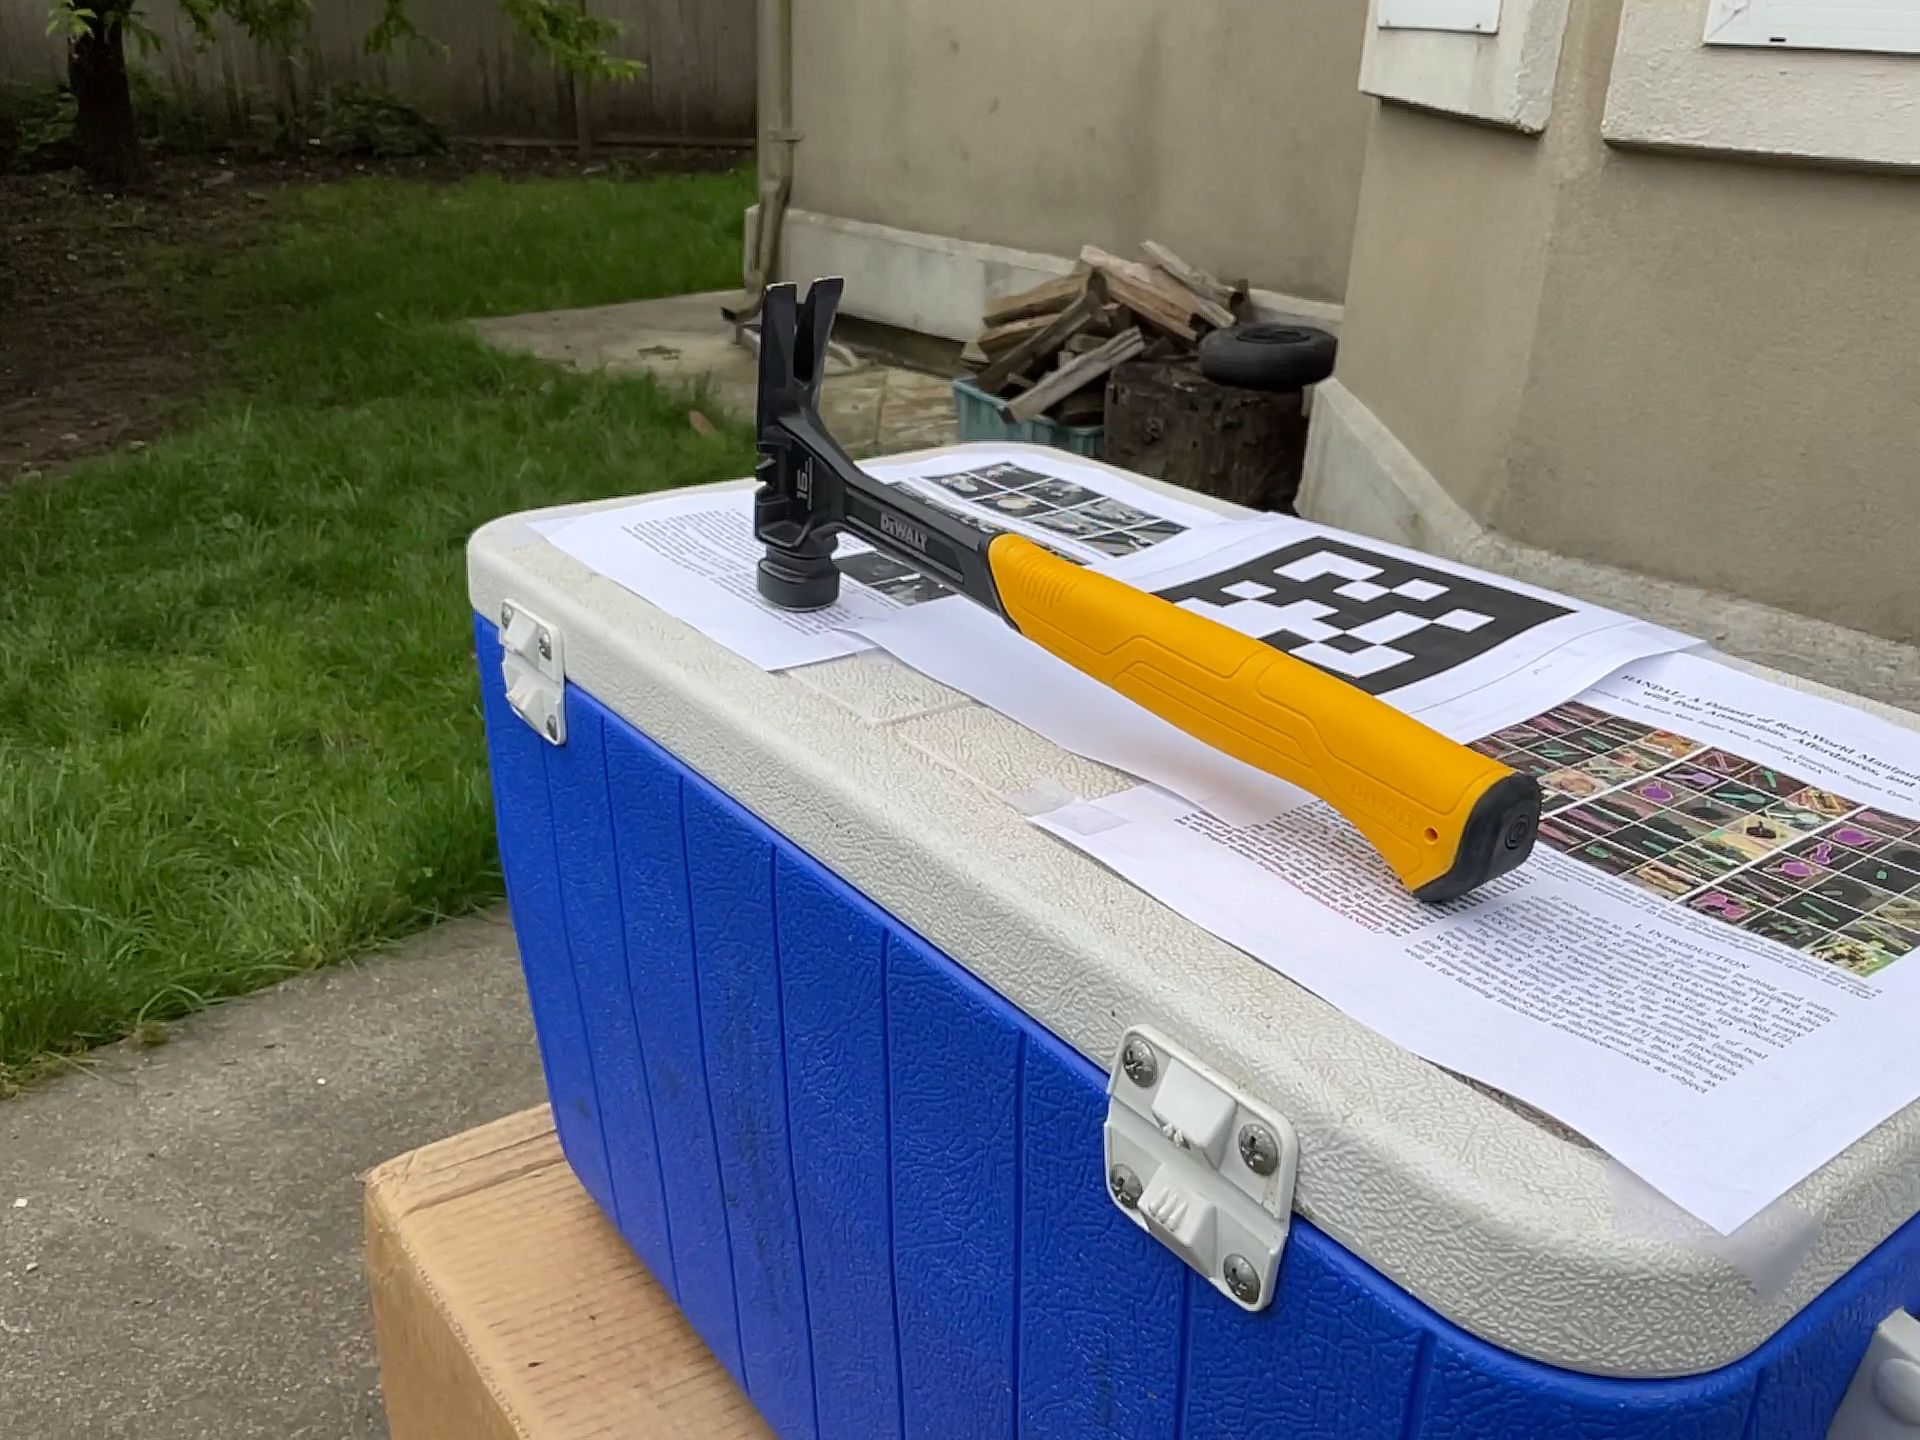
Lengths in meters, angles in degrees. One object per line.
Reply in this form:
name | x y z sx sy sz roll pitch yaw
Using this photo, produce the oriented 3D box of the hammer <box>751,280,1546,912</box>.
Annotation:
hammer | 0.036 -0.041 0.512 0.034 0.127 0.337 -17 35 -36
